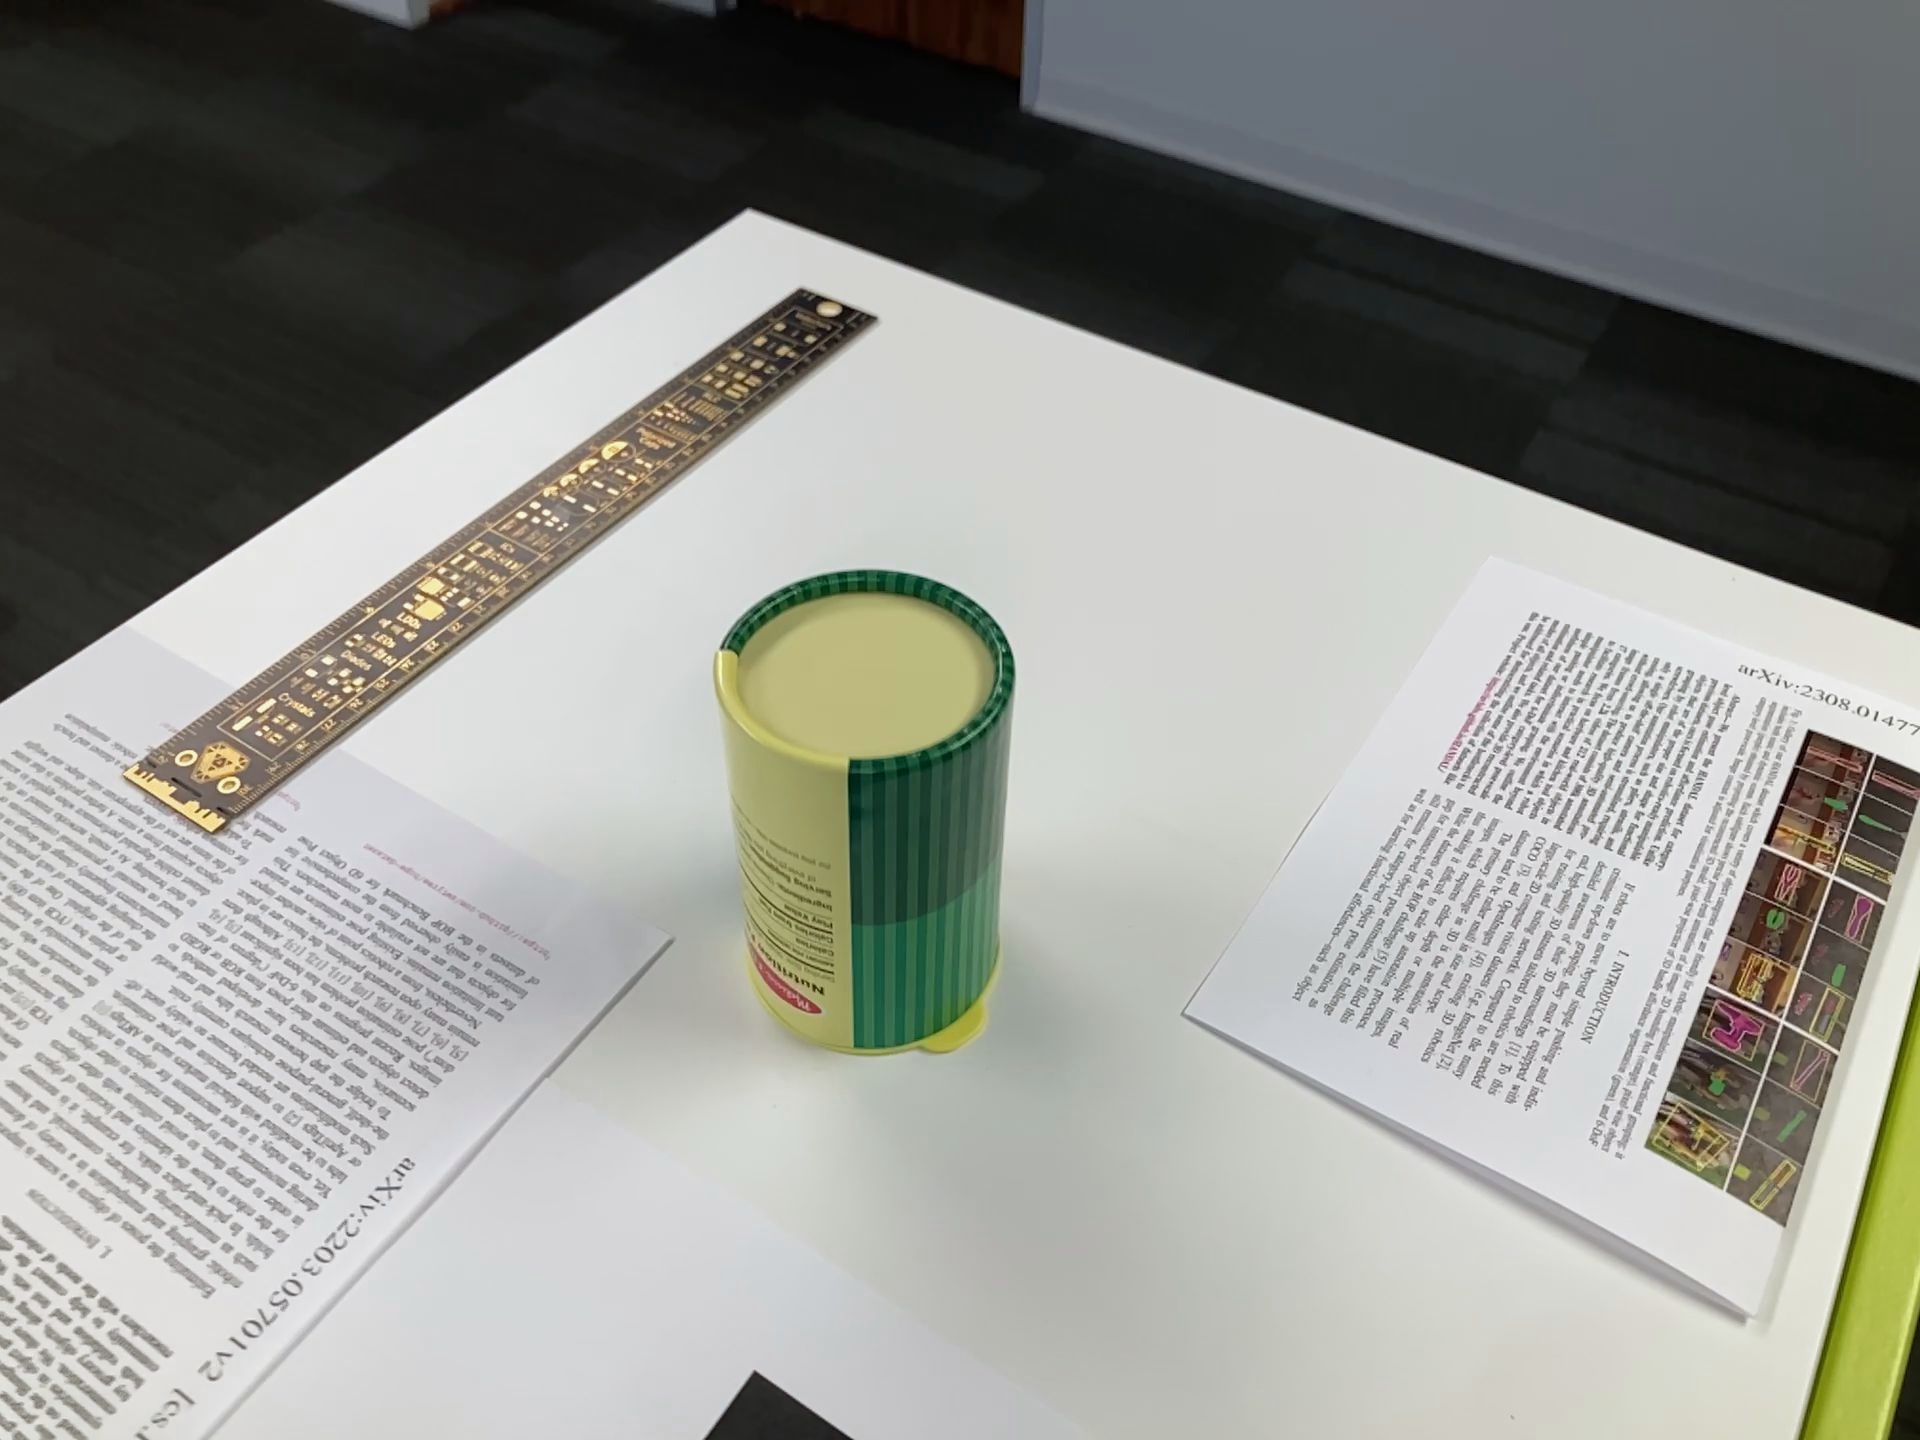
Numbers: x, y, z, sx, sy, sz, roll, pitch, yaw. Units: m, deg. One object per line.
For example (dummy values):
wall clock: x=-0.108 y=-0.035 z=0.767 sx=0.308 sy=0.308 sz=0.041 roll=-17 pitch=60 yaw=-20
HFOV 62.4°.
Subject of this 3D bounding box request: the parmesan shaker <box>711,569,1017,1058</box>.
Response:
parmesan shaker: x=-0.019 y=0.025 z=0.373 sx=0.071 sy=0.103 sz=0.071 roll=1 pitch=46 yaw=-1
